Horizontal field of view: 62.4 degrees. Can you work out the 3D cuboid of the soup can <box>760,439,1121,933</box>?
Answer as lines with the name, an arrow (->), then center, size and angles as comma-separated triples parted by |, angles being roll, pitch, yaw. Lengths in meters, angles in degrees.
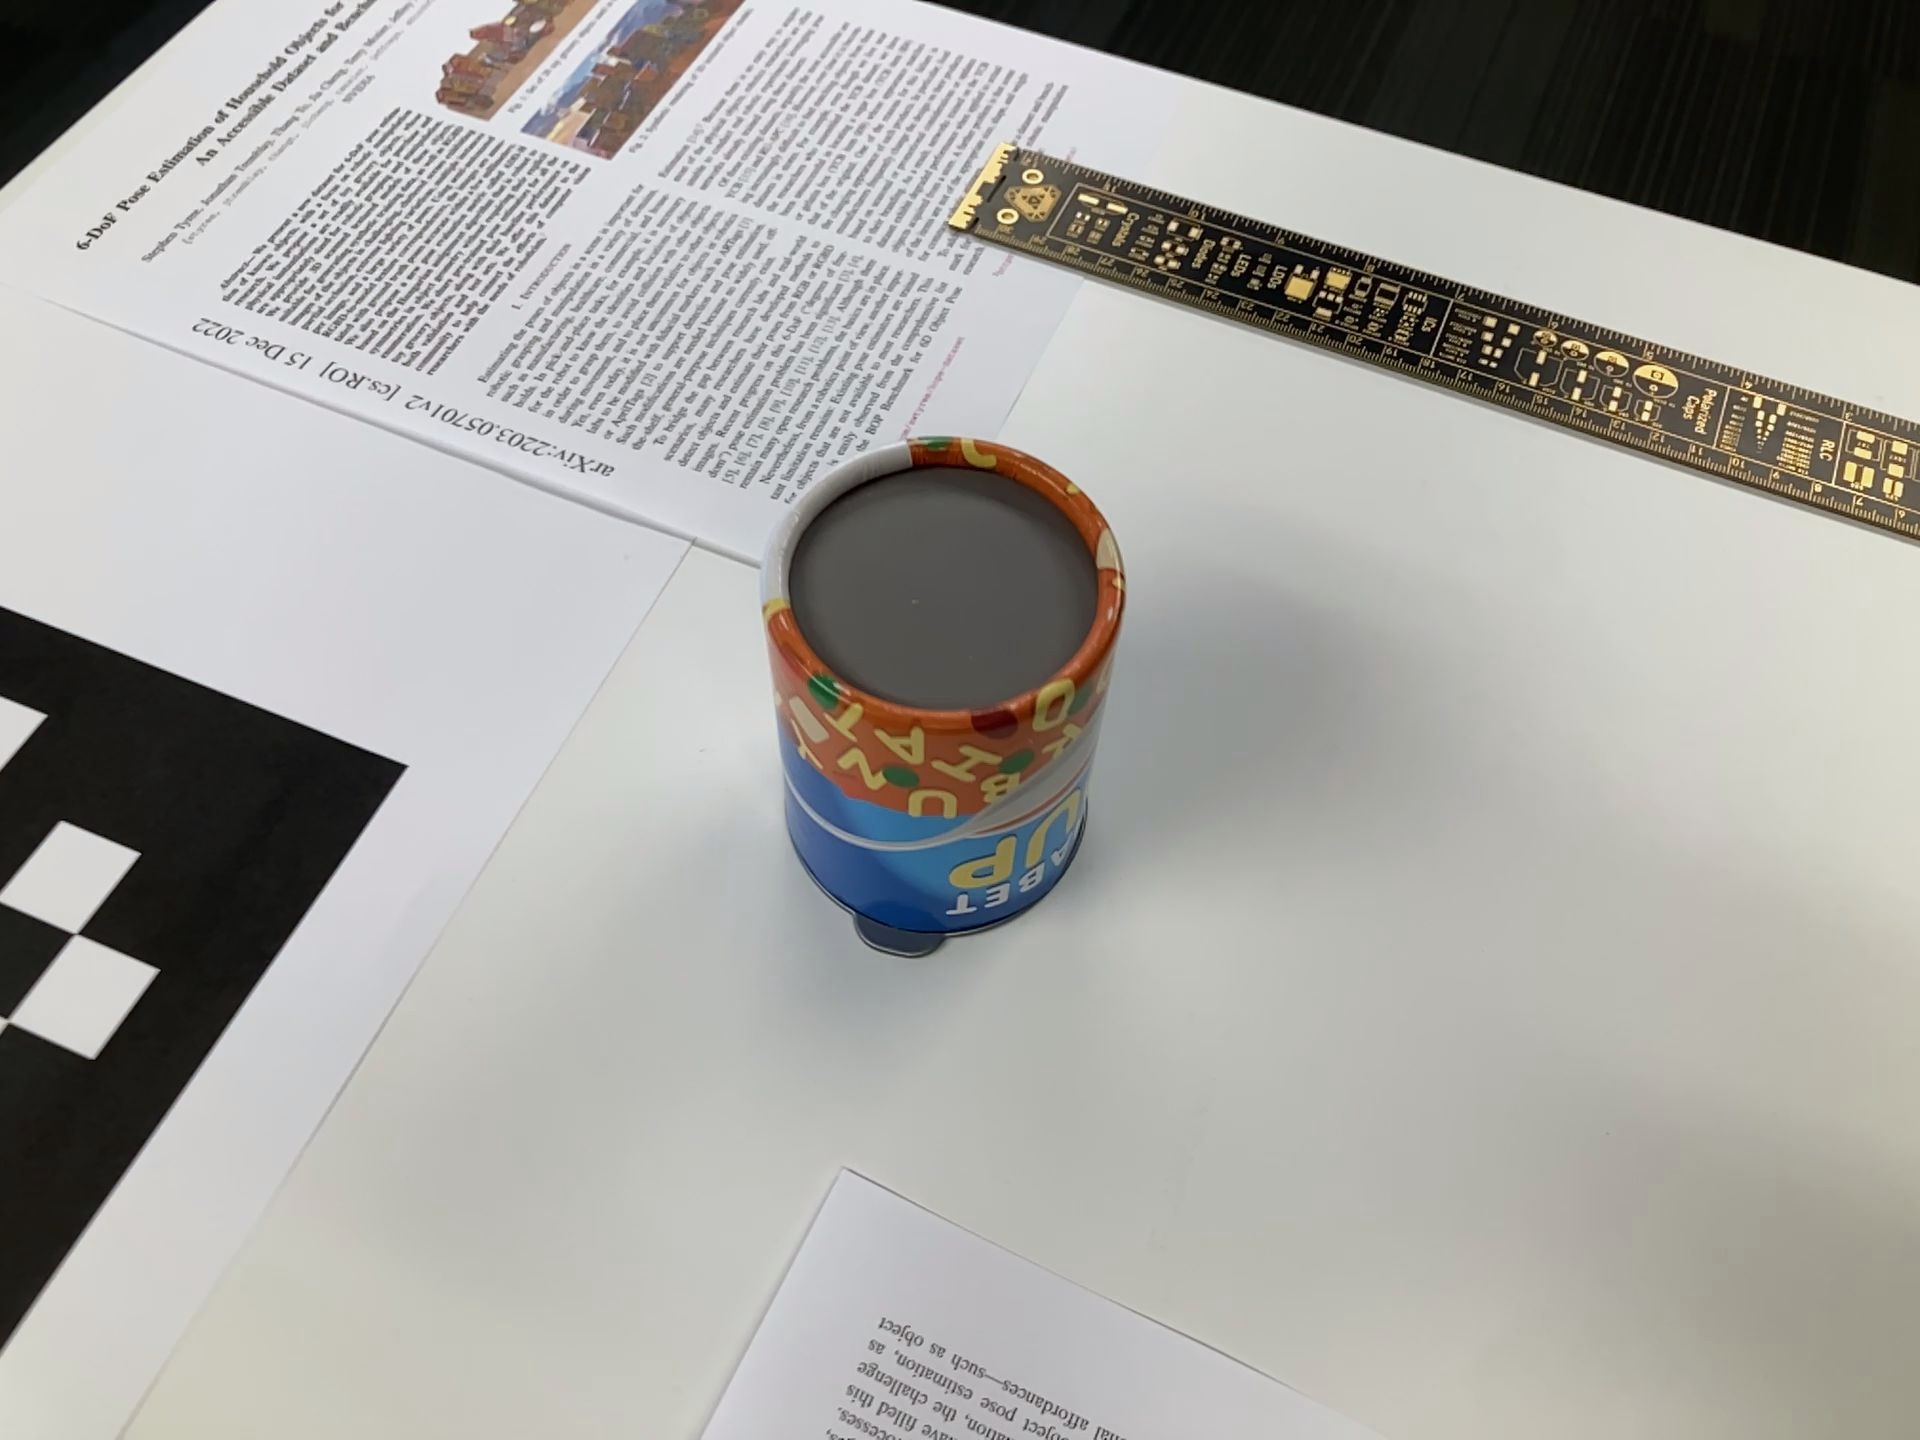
soup can -> -0.002, -0.003, 0.317 | 0.071, 0.084, 0.071 | 1, 59, -1
